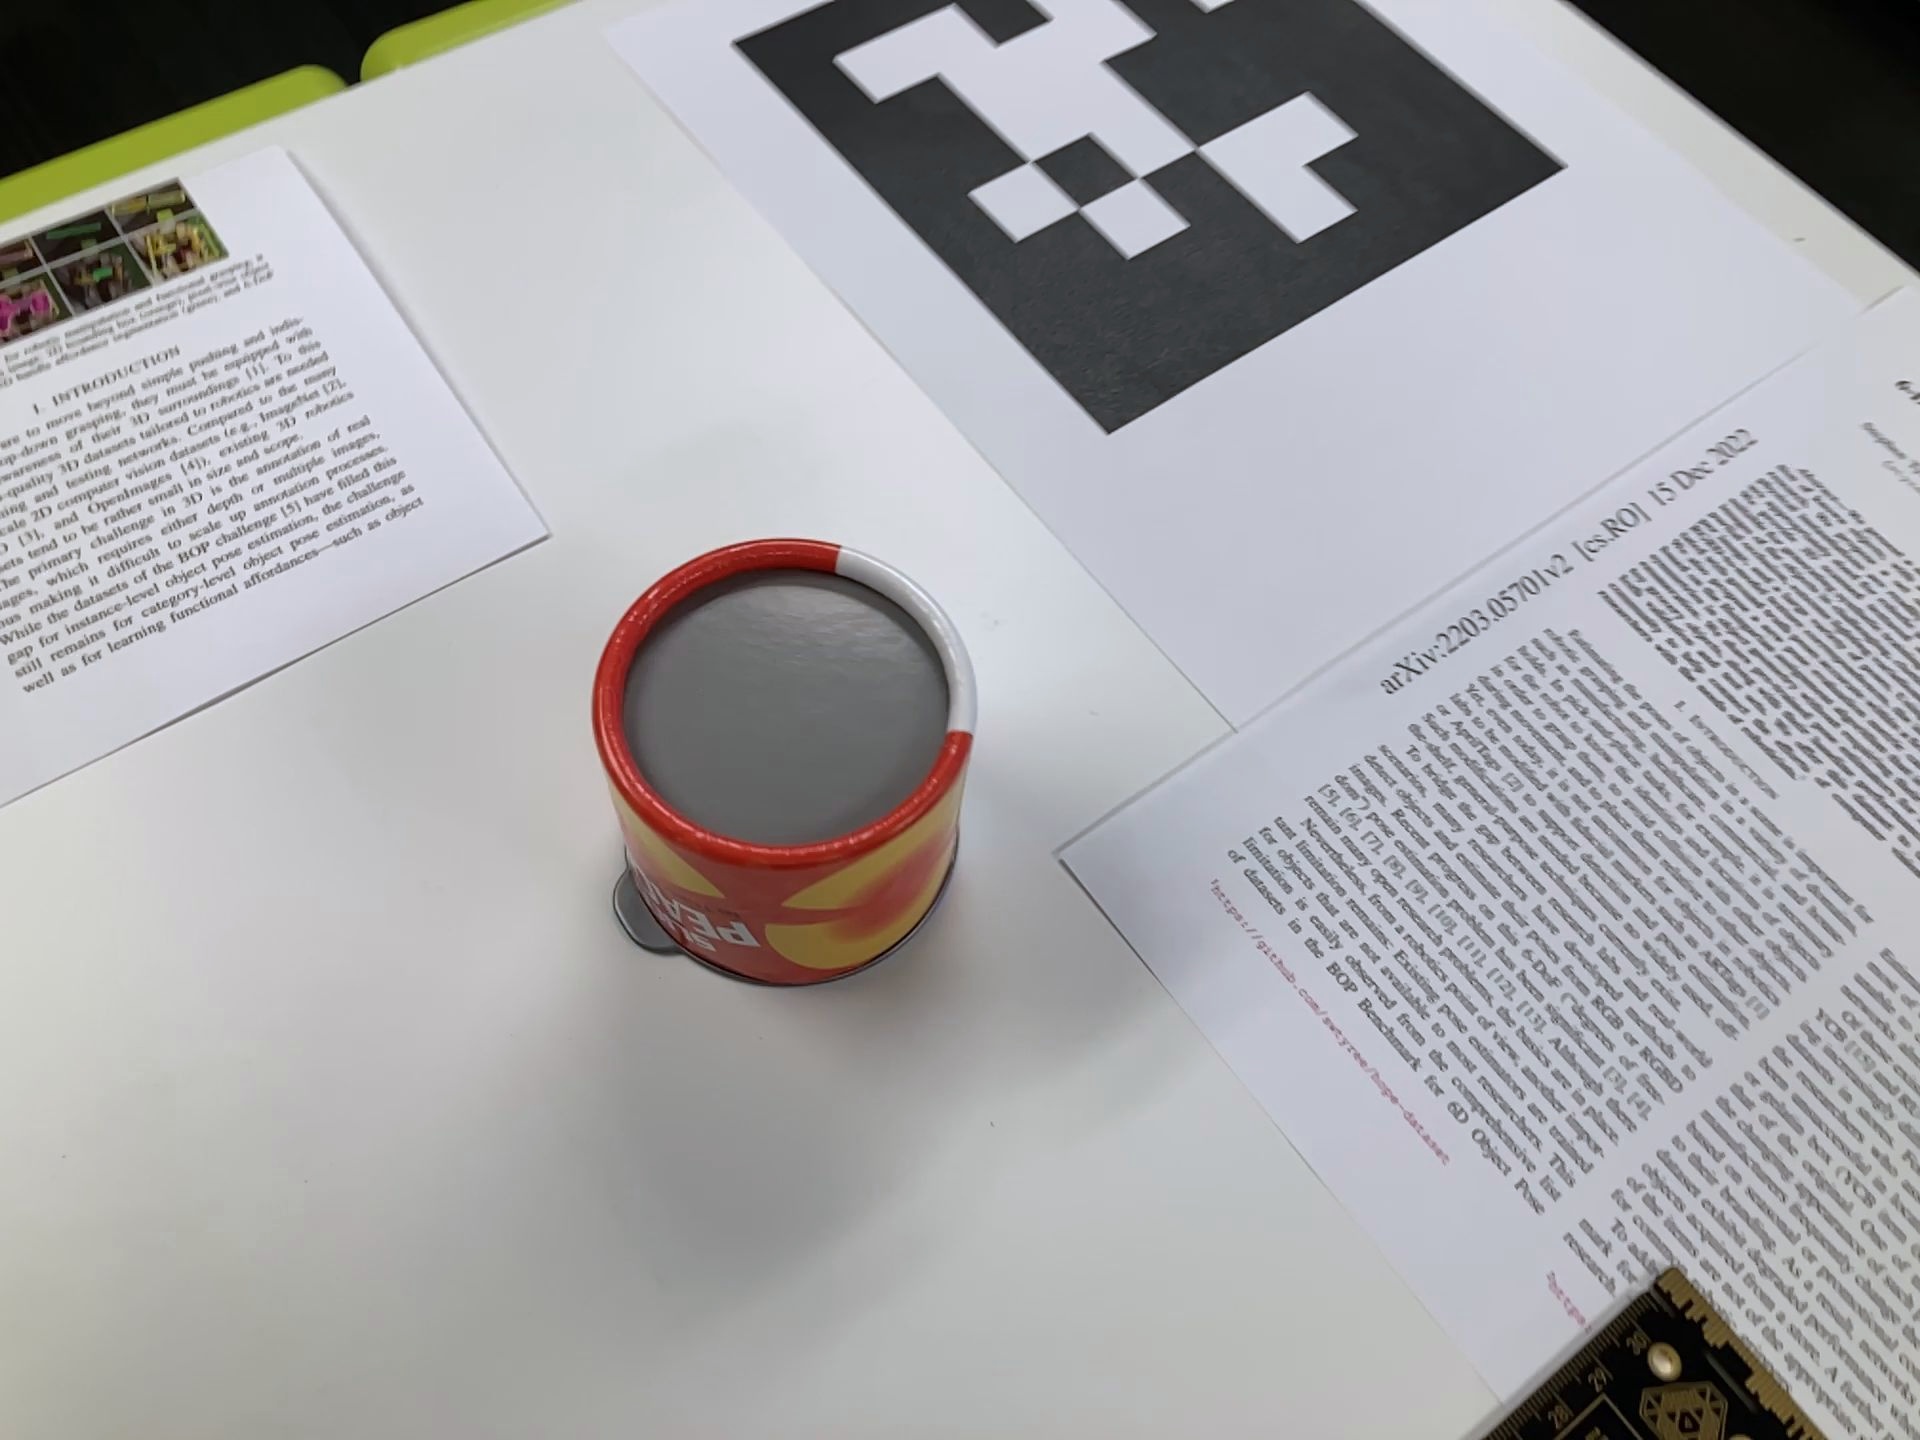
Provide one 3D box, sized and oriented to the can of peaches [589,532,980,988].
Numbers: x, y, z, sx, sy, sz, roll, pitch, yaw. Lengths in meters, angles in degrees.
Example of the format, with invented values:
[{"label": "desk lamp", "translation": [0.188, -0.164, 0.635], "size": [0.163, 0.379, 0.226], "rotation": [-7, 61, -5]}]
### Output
[{"label": "can of peaches", "translation": [-0.033, 0.009, 0.288], "size": [0.071, 0.058, 0.071], "rotation": [2, 61, -4]}]
